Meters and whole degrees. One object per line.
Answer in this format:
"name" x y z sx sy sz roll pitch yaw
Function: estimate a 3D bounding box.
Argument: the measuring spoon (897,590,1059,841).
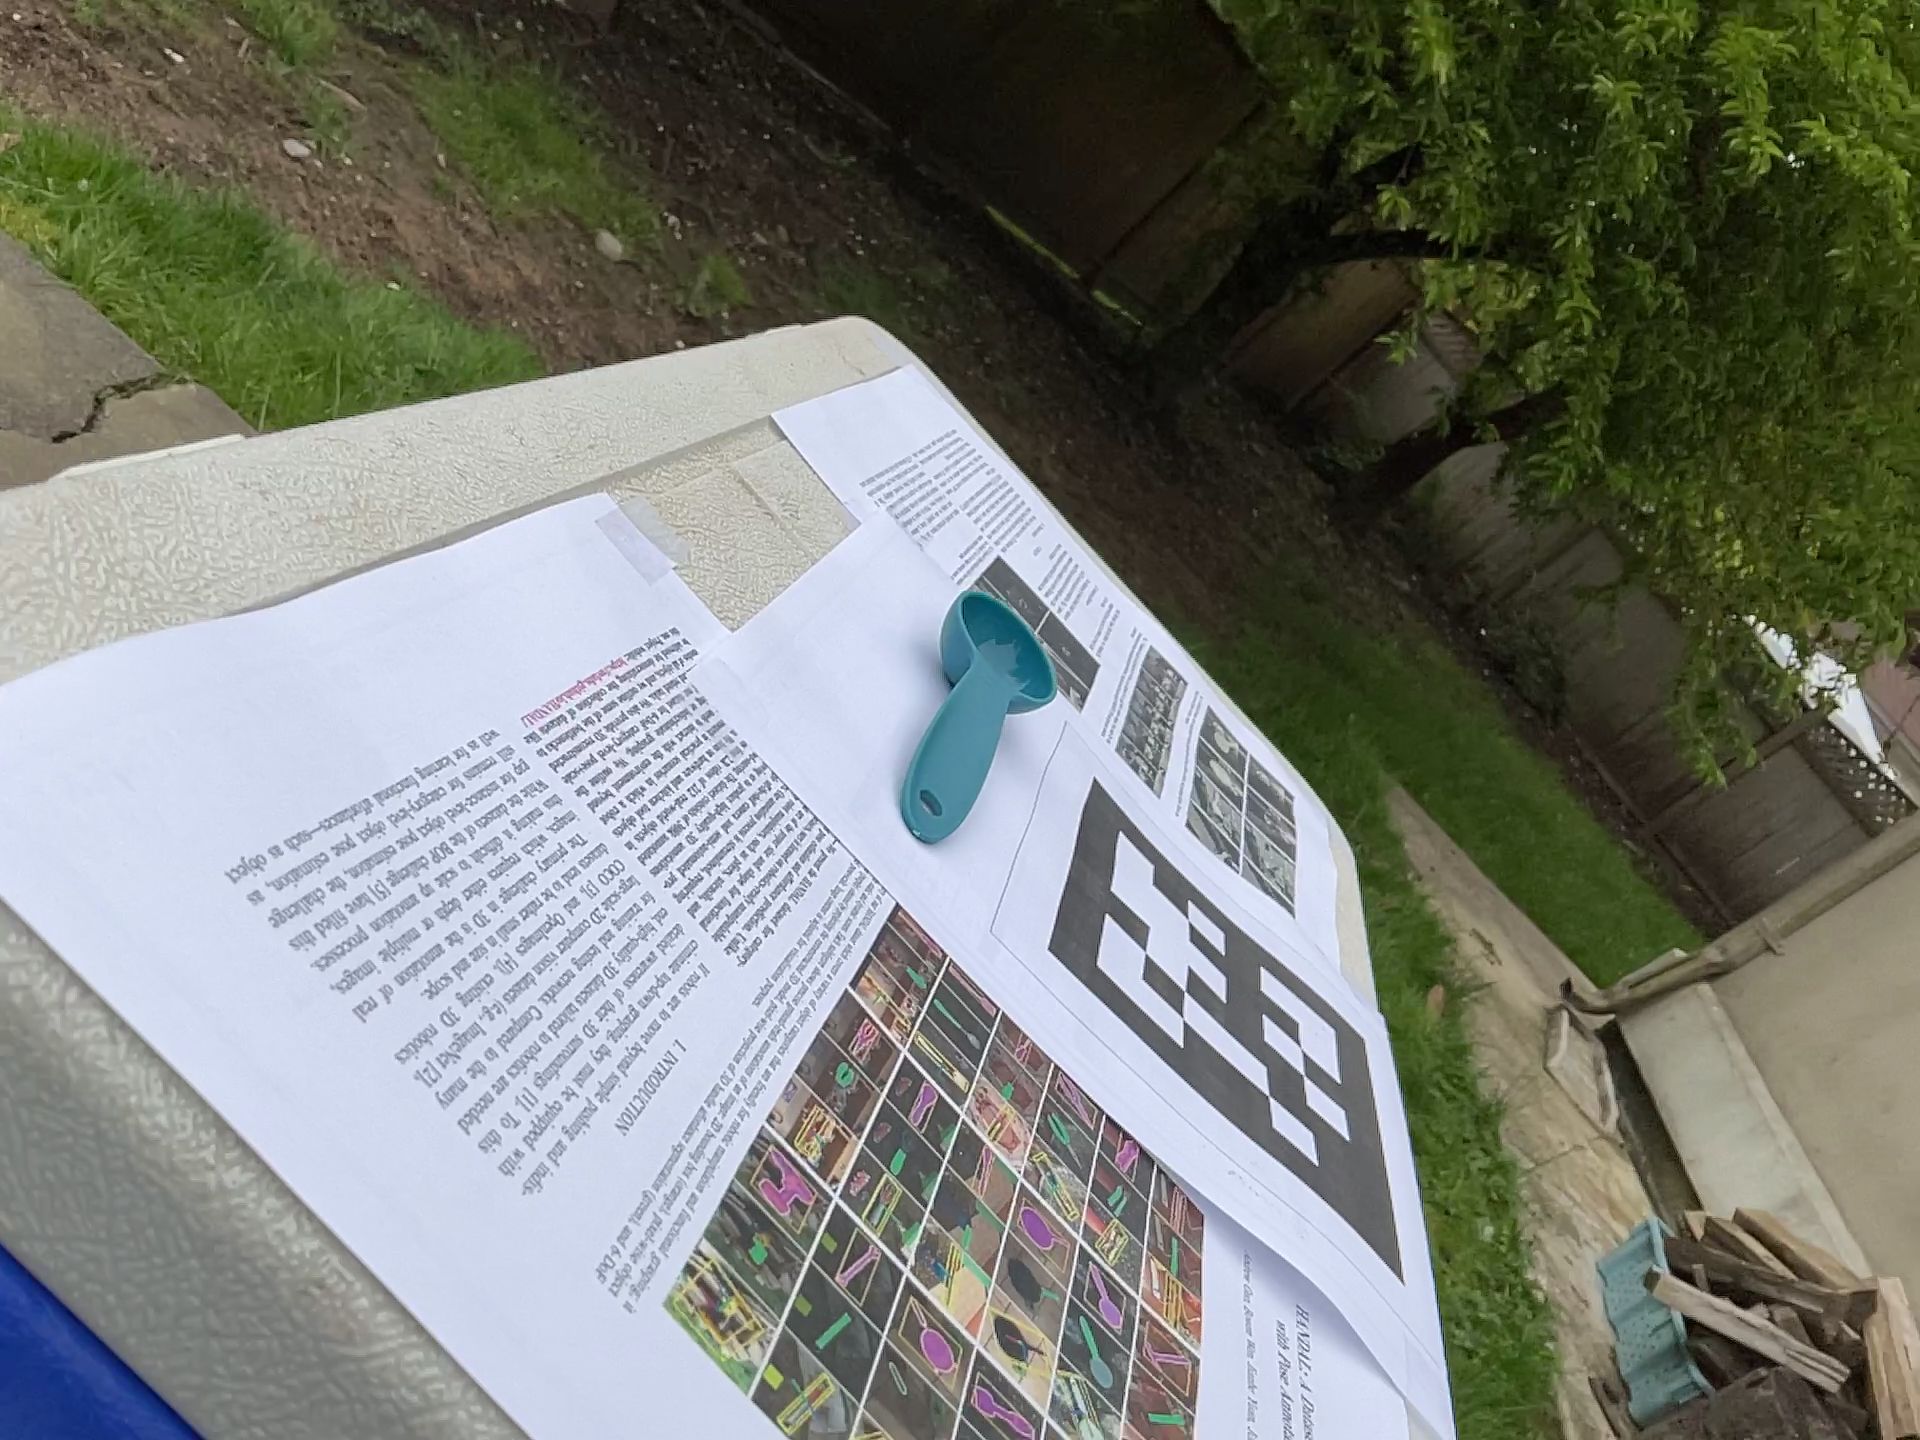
"measuring spoon" -0.002 0.002 0.446 0.042 0.021 0.129 45 29 -10
